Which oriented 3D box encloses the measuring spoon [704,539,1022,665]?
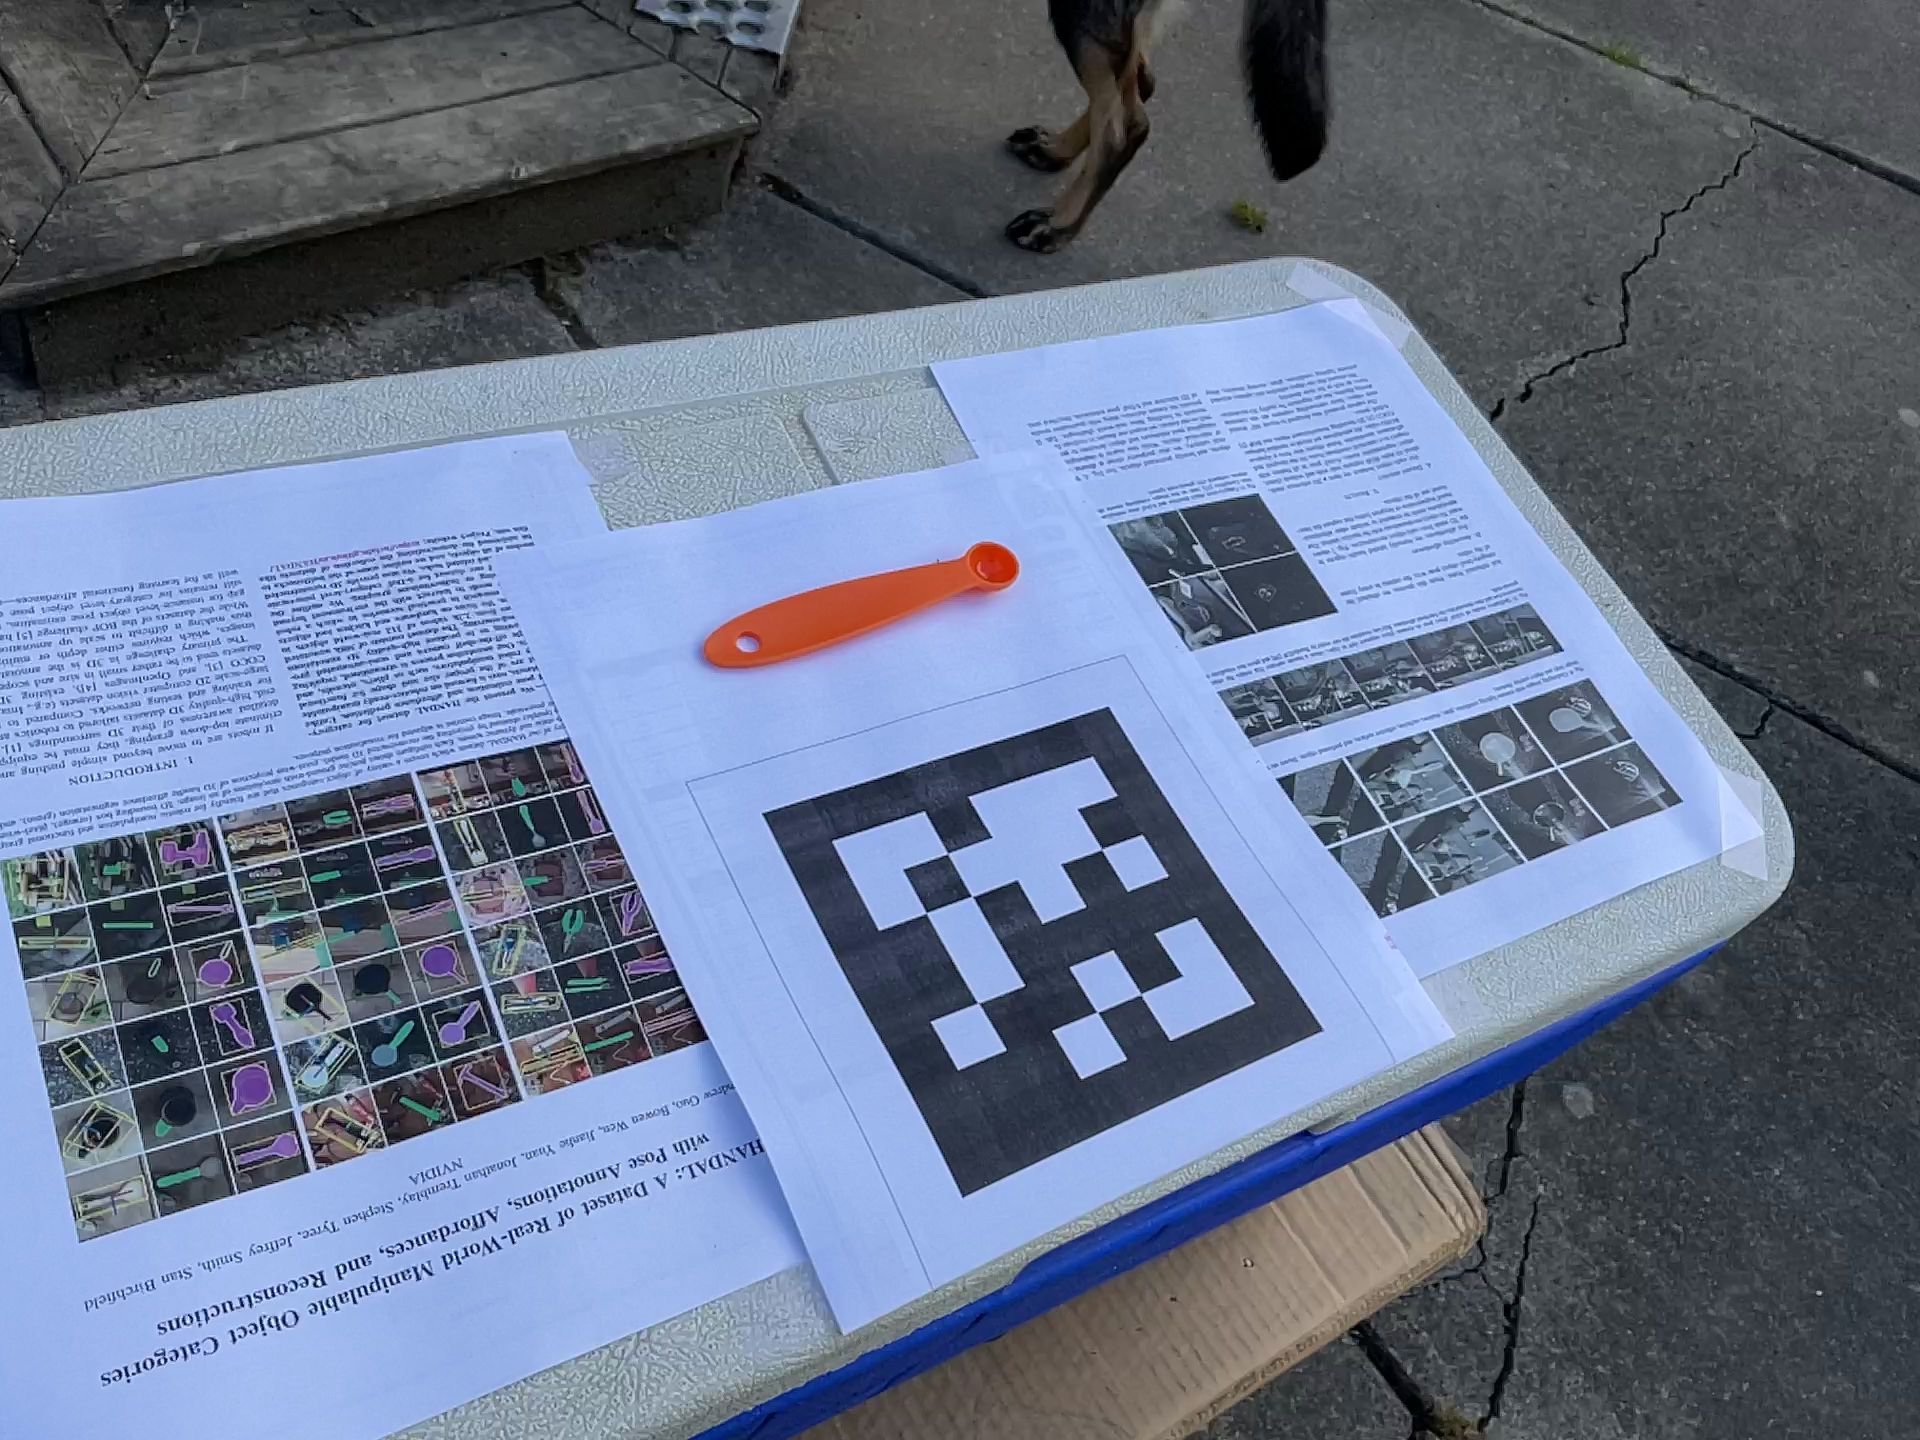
[{"bbox_3d":[-0.031,-0.037,0.528,0.117,0.011,0.021,-20,65,-26],"label":"measuring spoon"}]
